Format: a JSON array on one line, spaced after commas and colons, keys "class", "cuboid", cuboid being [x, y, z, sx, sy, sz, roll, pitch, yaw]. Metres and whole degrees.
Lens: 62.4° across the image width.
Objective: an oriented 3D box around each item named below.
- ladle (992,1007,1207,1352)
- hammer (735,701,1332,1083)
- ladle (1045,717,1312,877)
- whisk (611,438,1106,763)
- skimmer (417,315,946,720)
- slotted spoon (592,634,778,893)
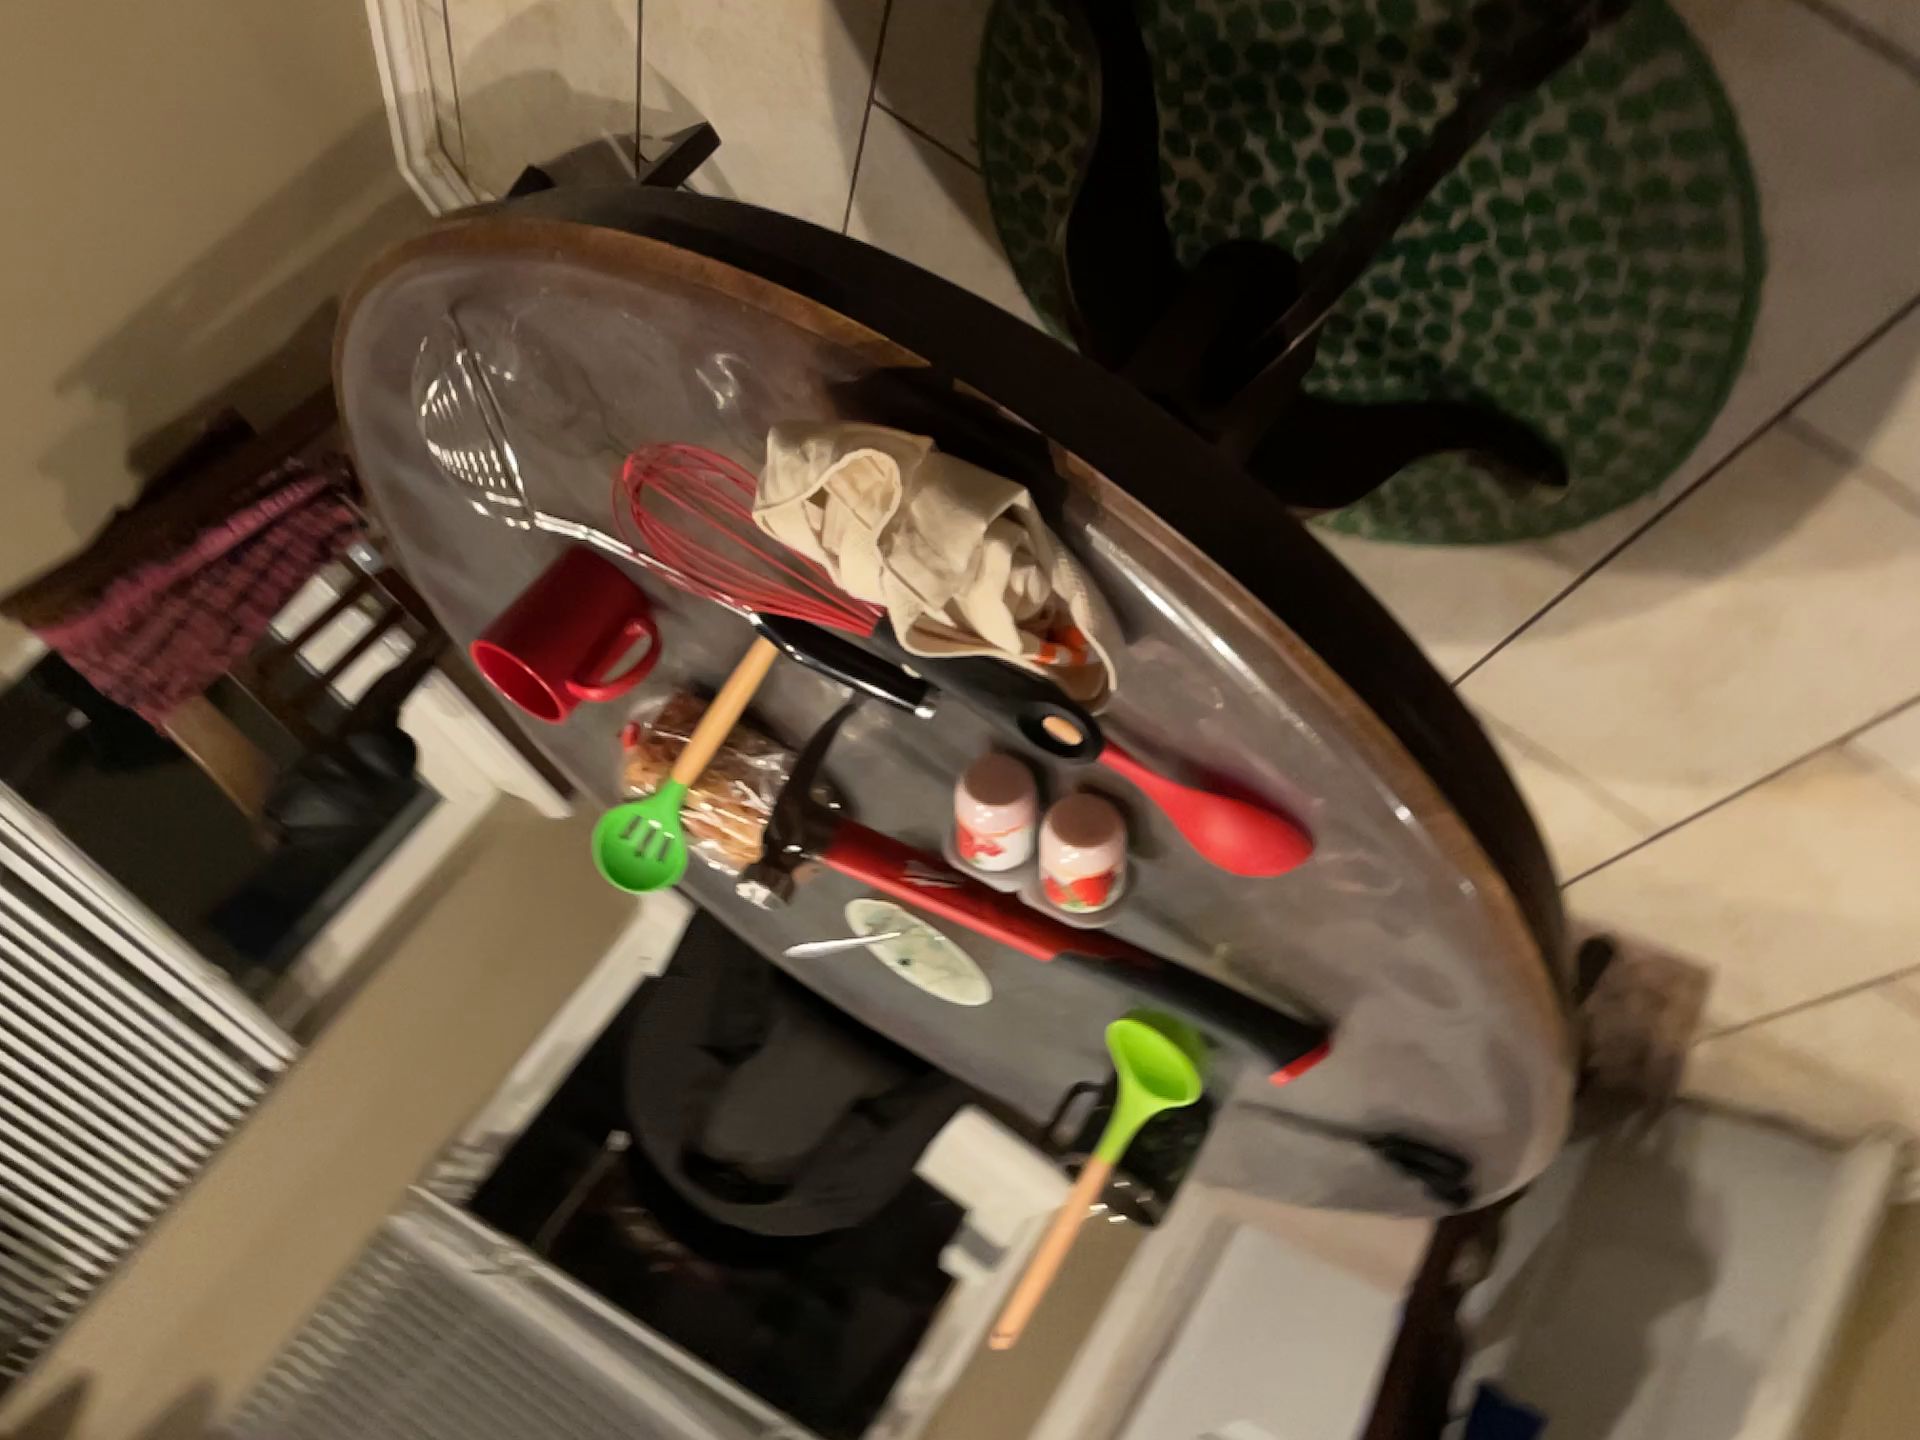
[{"class": "ladle", "cuboid": [0.089, 0.346, 1.162, 0.078, 0.320, 0.062, 35, -160, 28]}, {"class": "hammer", "cuboid": [0.060, 0.122, 1.020, 0.386, 0.143, 0.038, 23, 155, 1]}, {"class": "ladle", "cuboid": [0.053, -0.005, 0.870, 0.315, 0.031, 0.069, 36, 154, 7]}, {"class": "whisk", "cuboid": [-0.056, -0.059, 0.800, 0.296, 0.073, 0.073, 31, 153, 11]}, {"class": "skimmer", "cuboid": [-0.162, -0.116, 0.946, 0.363, 0.090, 0.127, 27, 163, -4]}, {"class": "slotted spoon", "cuboid": [-0.181, 0.025, 1.092, 0.070, 0.031, 0.314, 34, 132, -6]}]
